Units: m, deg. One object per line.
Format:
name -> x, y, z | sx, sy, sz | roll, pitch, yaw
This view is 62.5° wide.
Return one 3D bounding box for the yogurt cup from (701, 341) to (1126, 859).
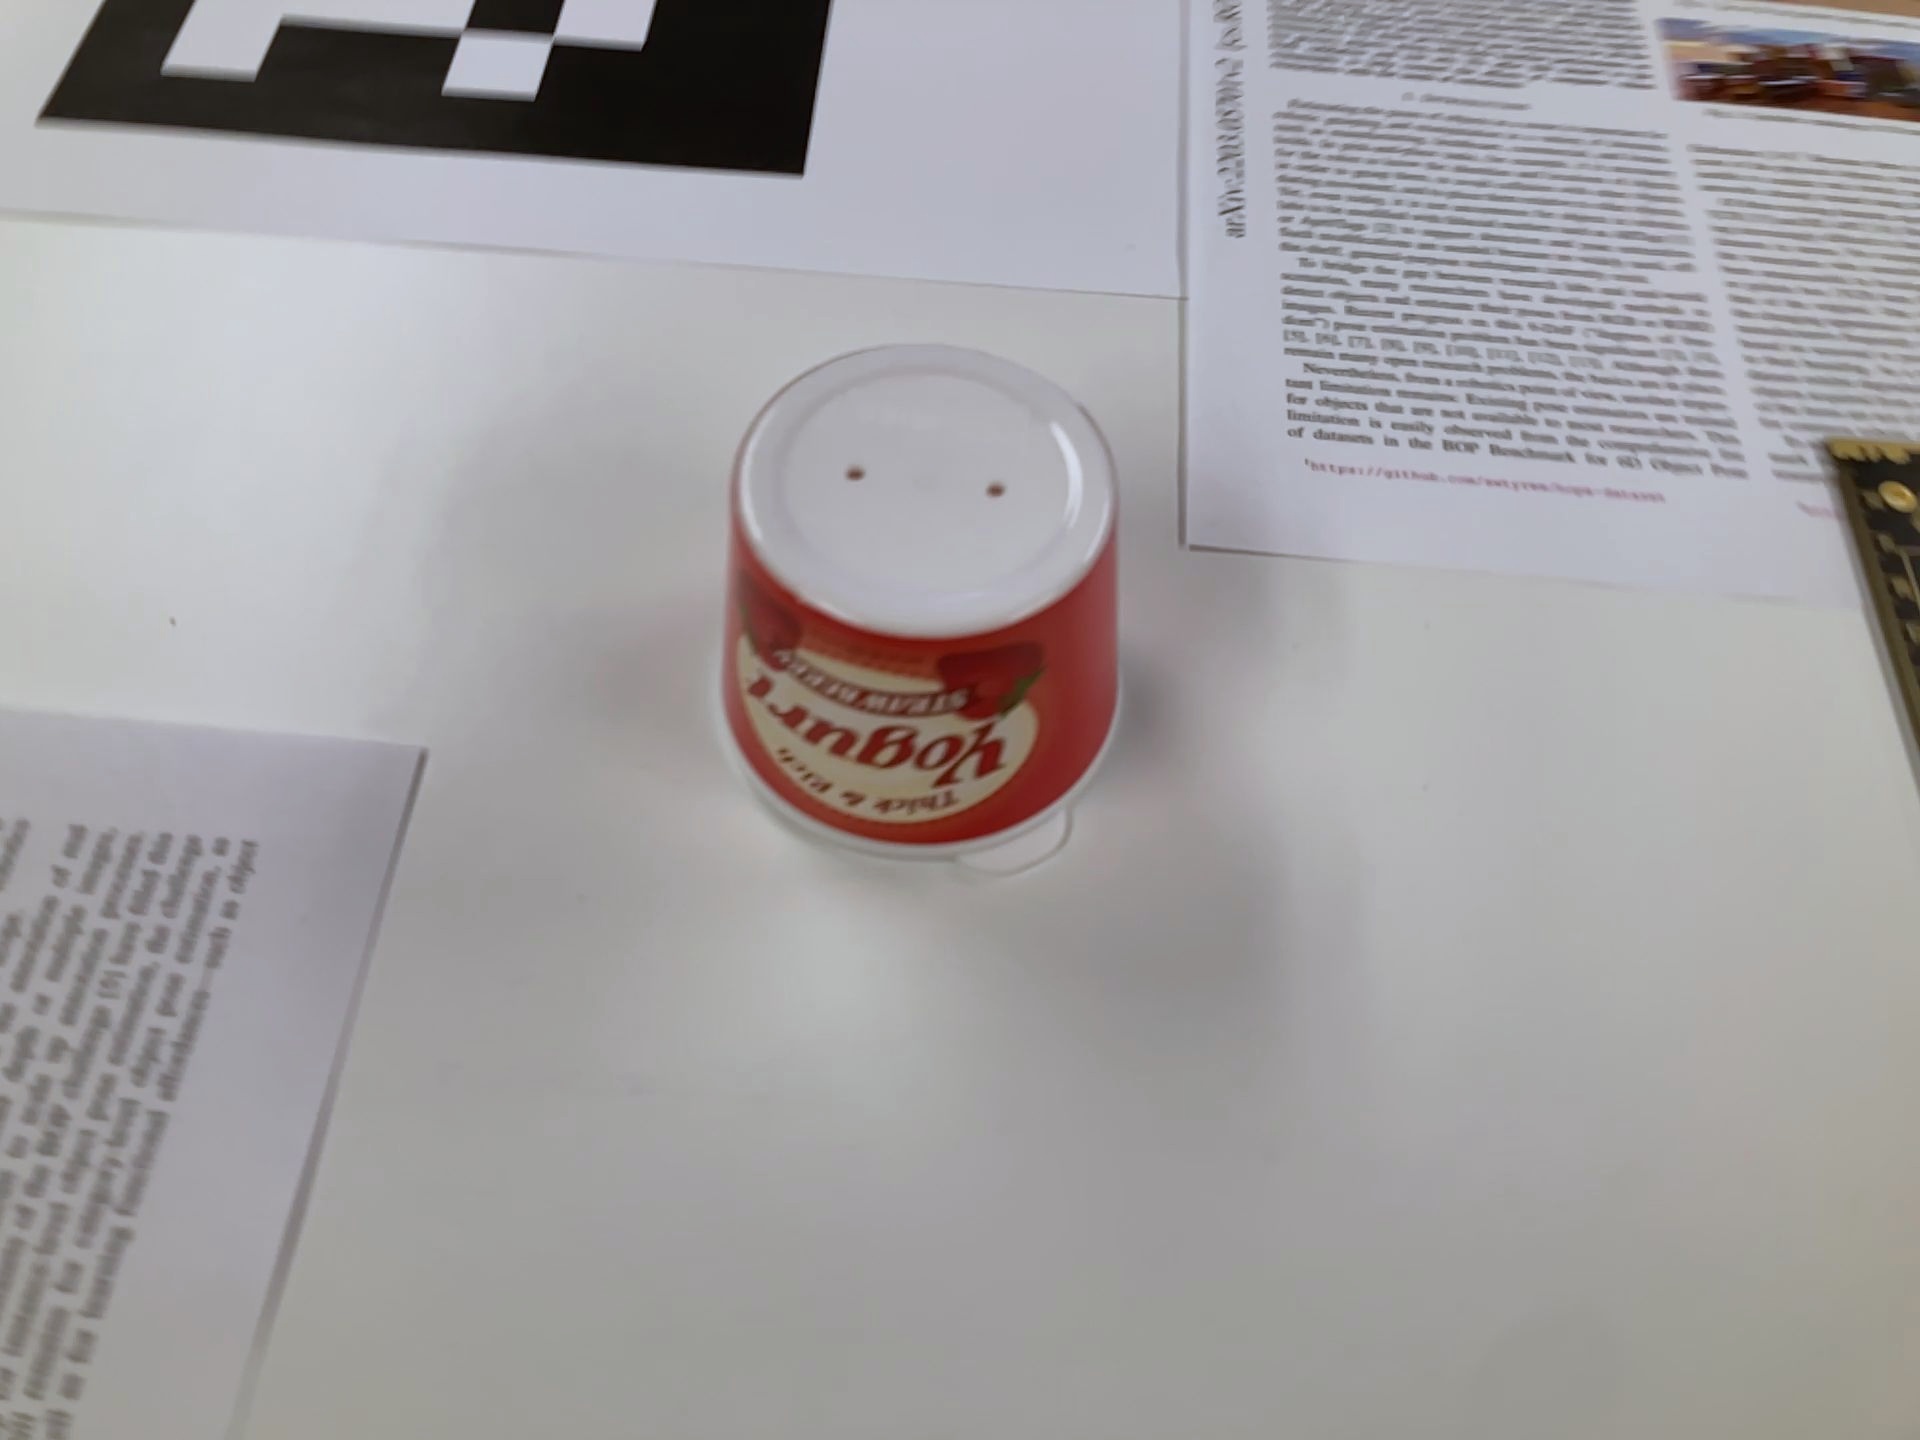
yogurt cup -> -0.006, -0.020, 0.244 | 0.072, 0.054, 0.072 | 1, 58, -1
